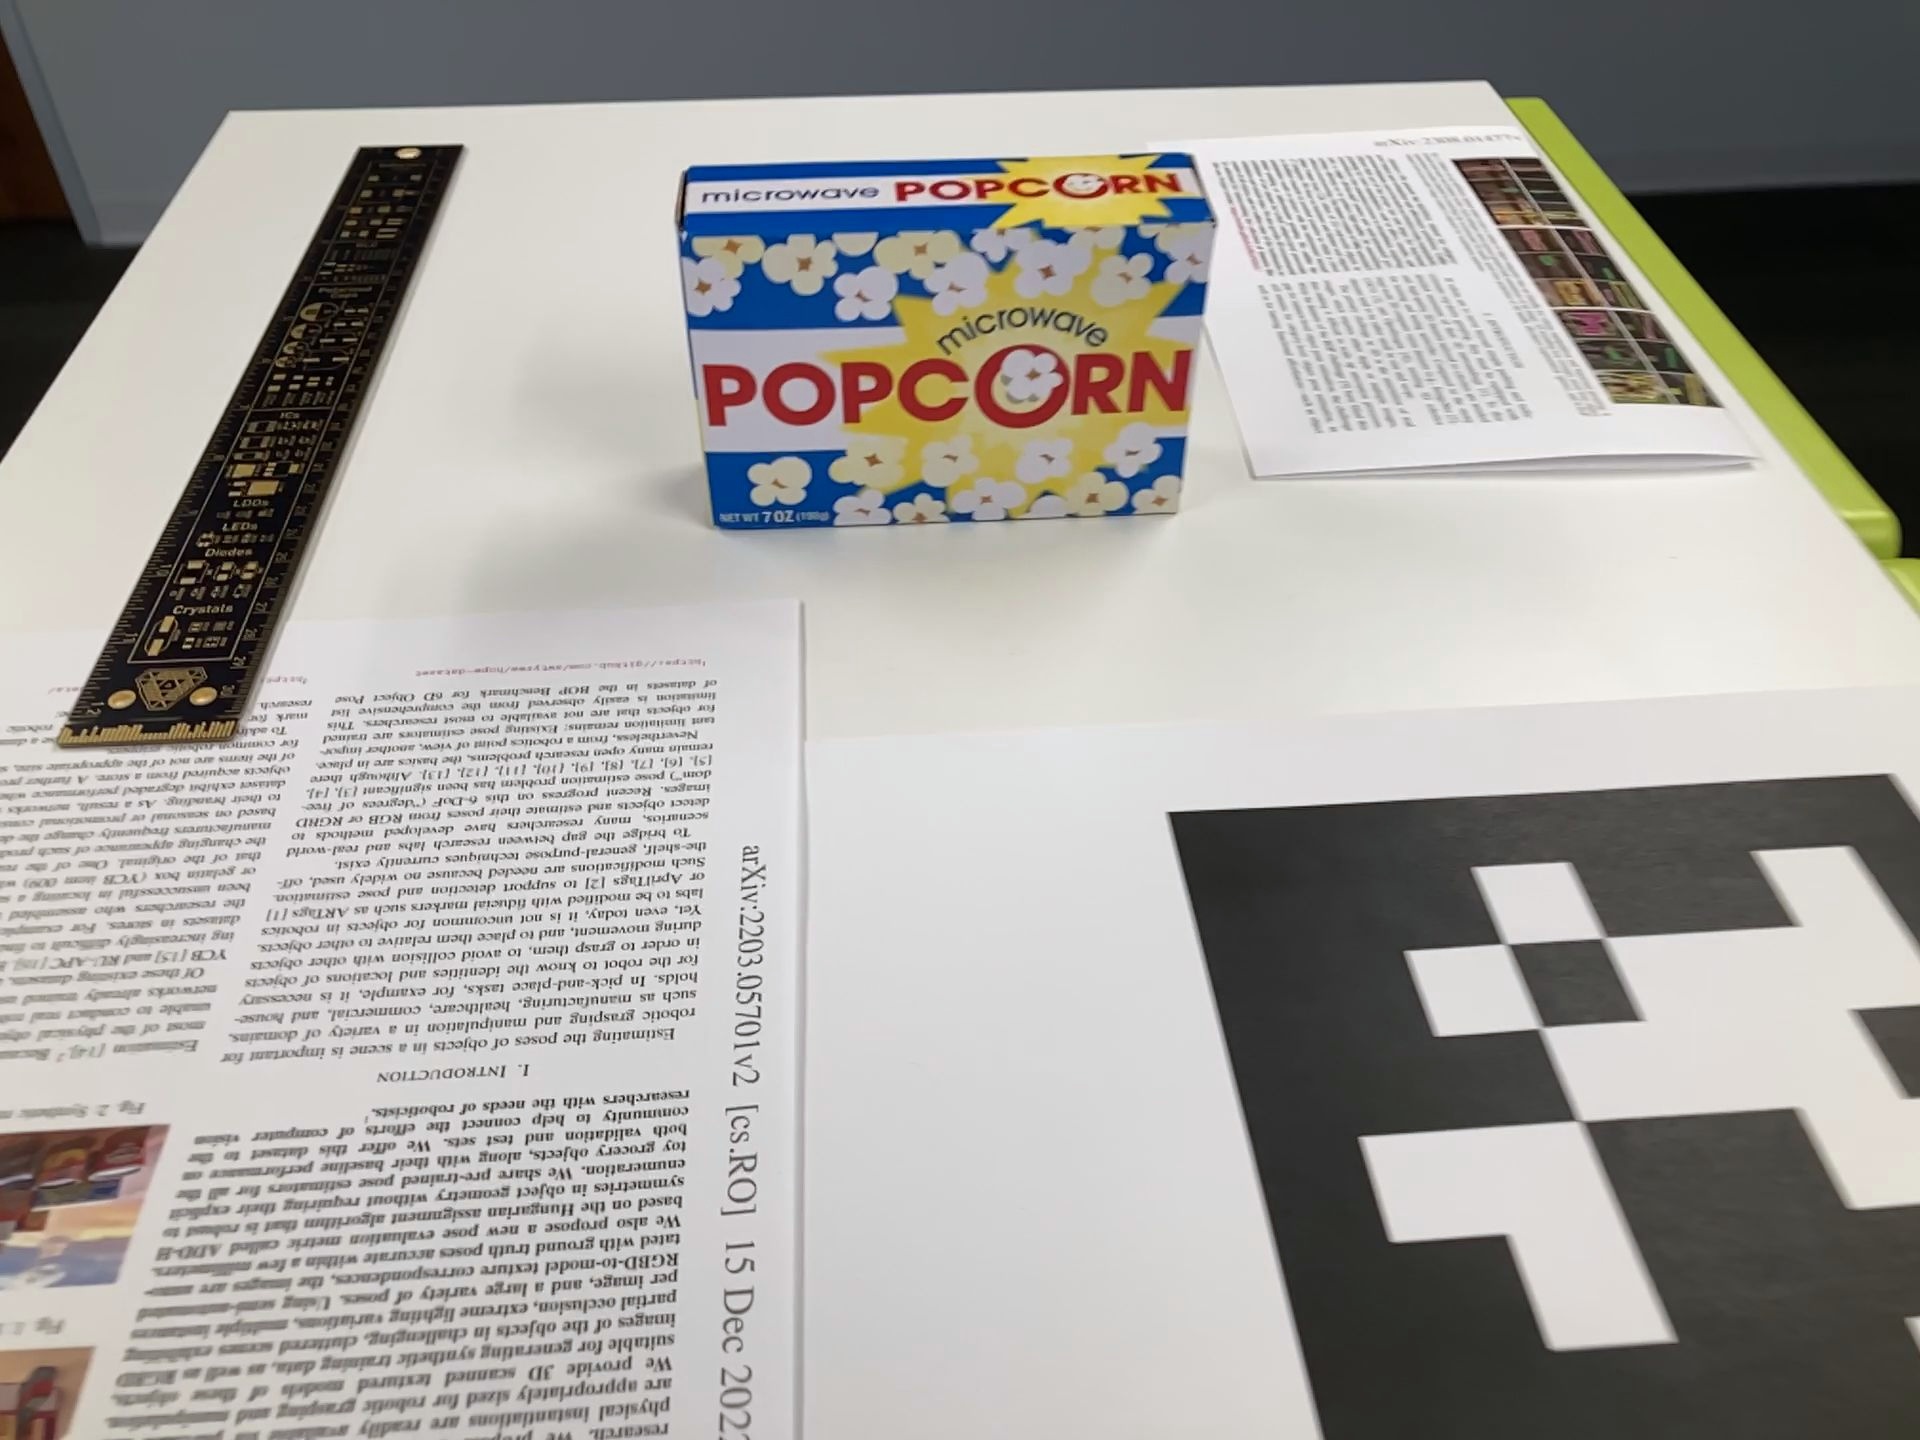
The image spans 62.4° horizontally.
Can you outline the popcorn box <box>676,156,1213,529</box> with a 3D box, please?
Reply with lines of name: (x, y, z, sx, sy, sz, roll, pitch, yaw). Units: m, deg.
popcorn box: (-0.004, -0.095, 0.406, 0.126, 0.085, 0.038, -3, 43, -3)
